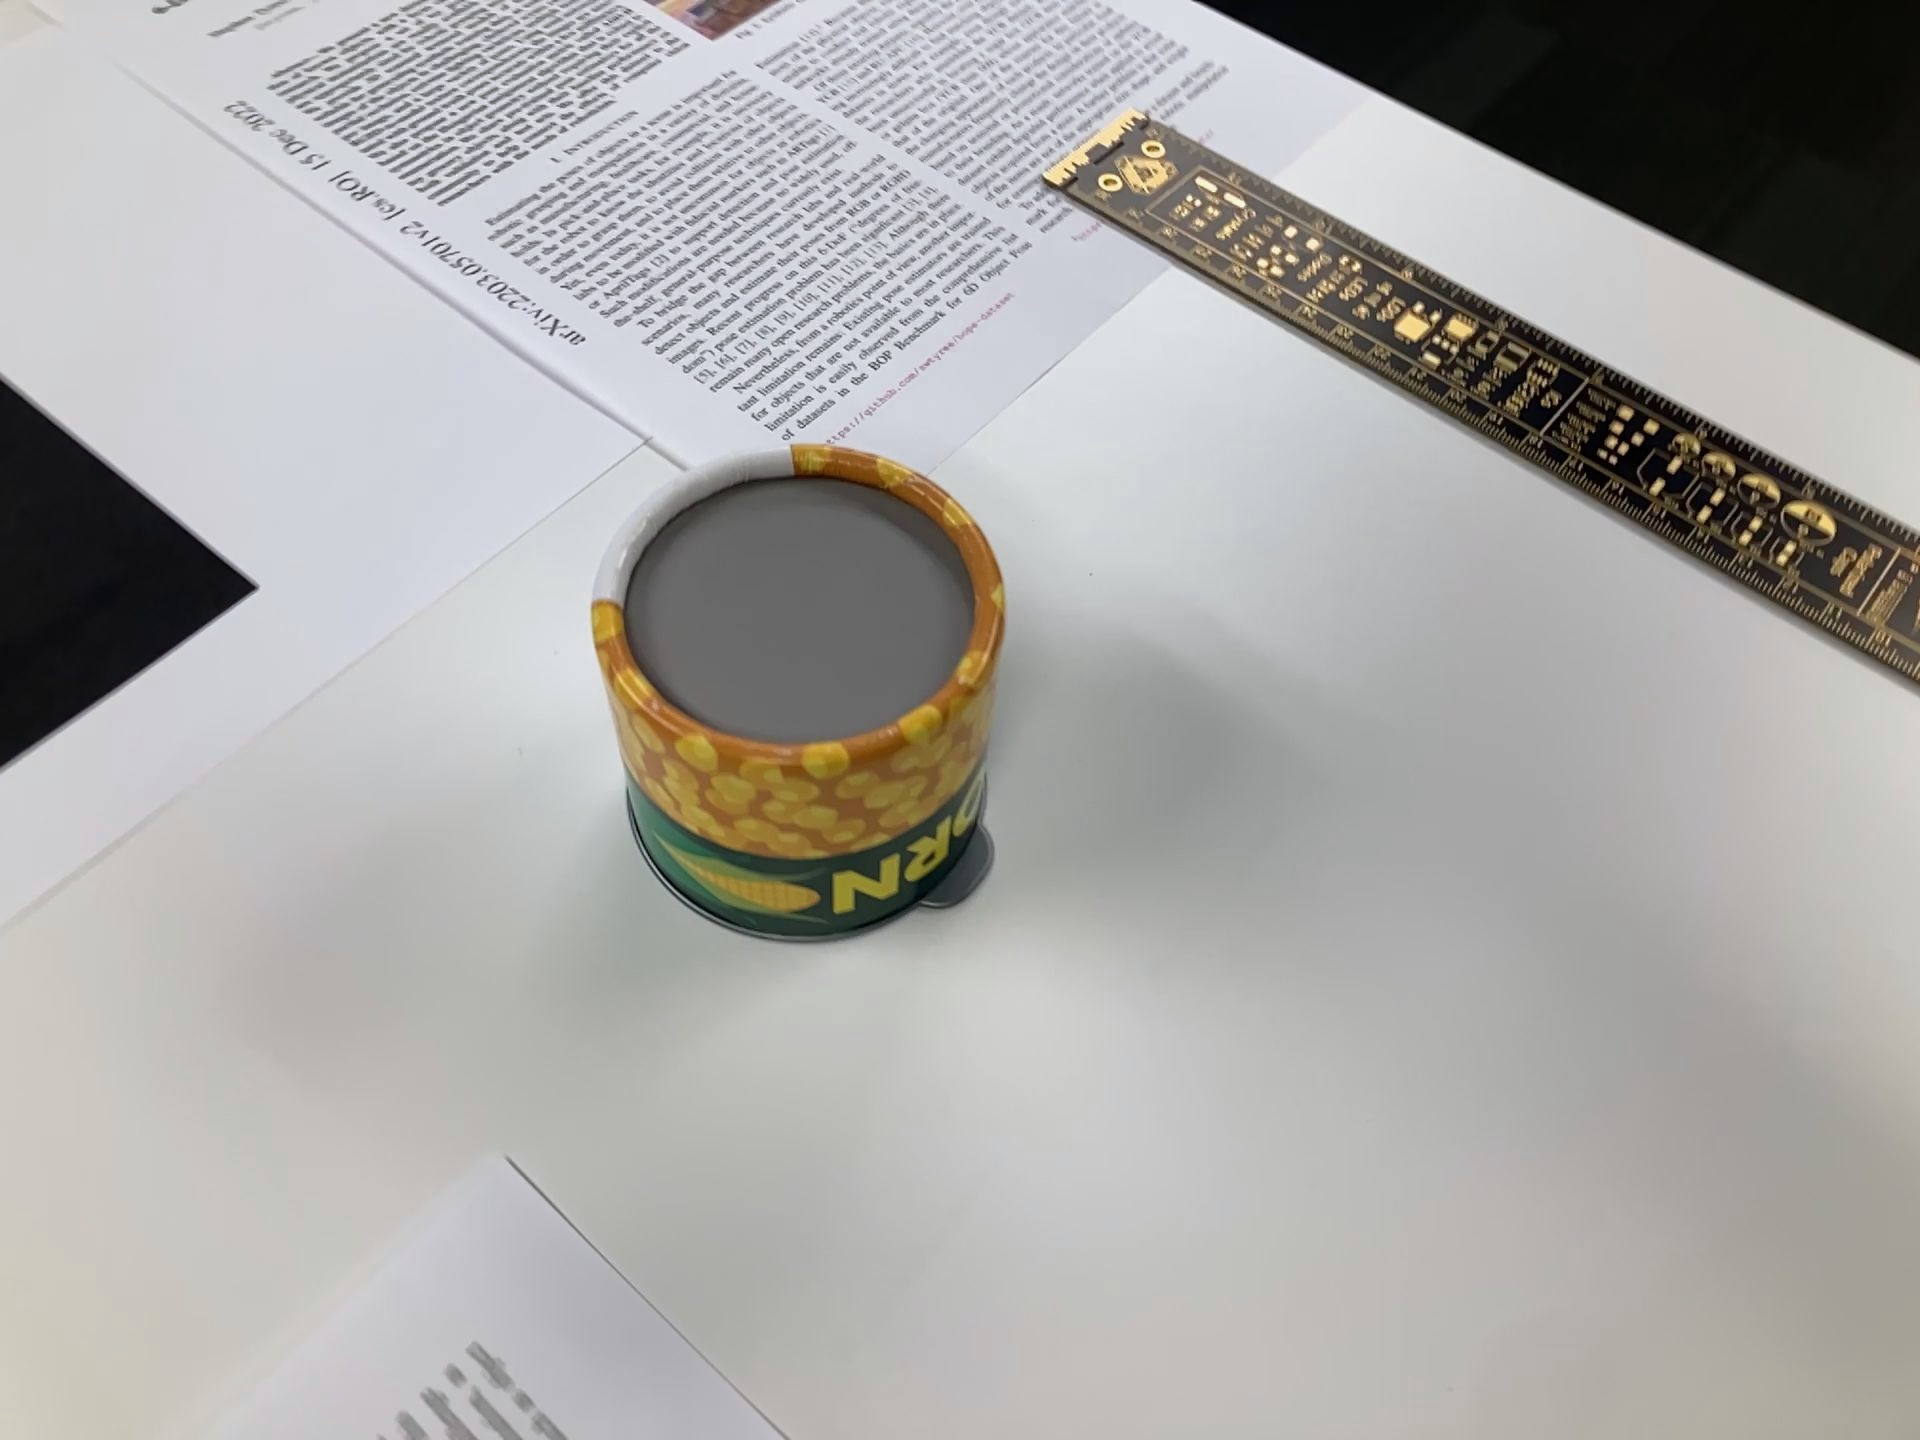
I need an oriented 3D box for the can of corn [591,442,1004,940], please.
[{"bbox_3d":[-0.025,-0.003,0.273,0.071,0.058,0.071,2,56,-3],"label":"can of corn"}]
